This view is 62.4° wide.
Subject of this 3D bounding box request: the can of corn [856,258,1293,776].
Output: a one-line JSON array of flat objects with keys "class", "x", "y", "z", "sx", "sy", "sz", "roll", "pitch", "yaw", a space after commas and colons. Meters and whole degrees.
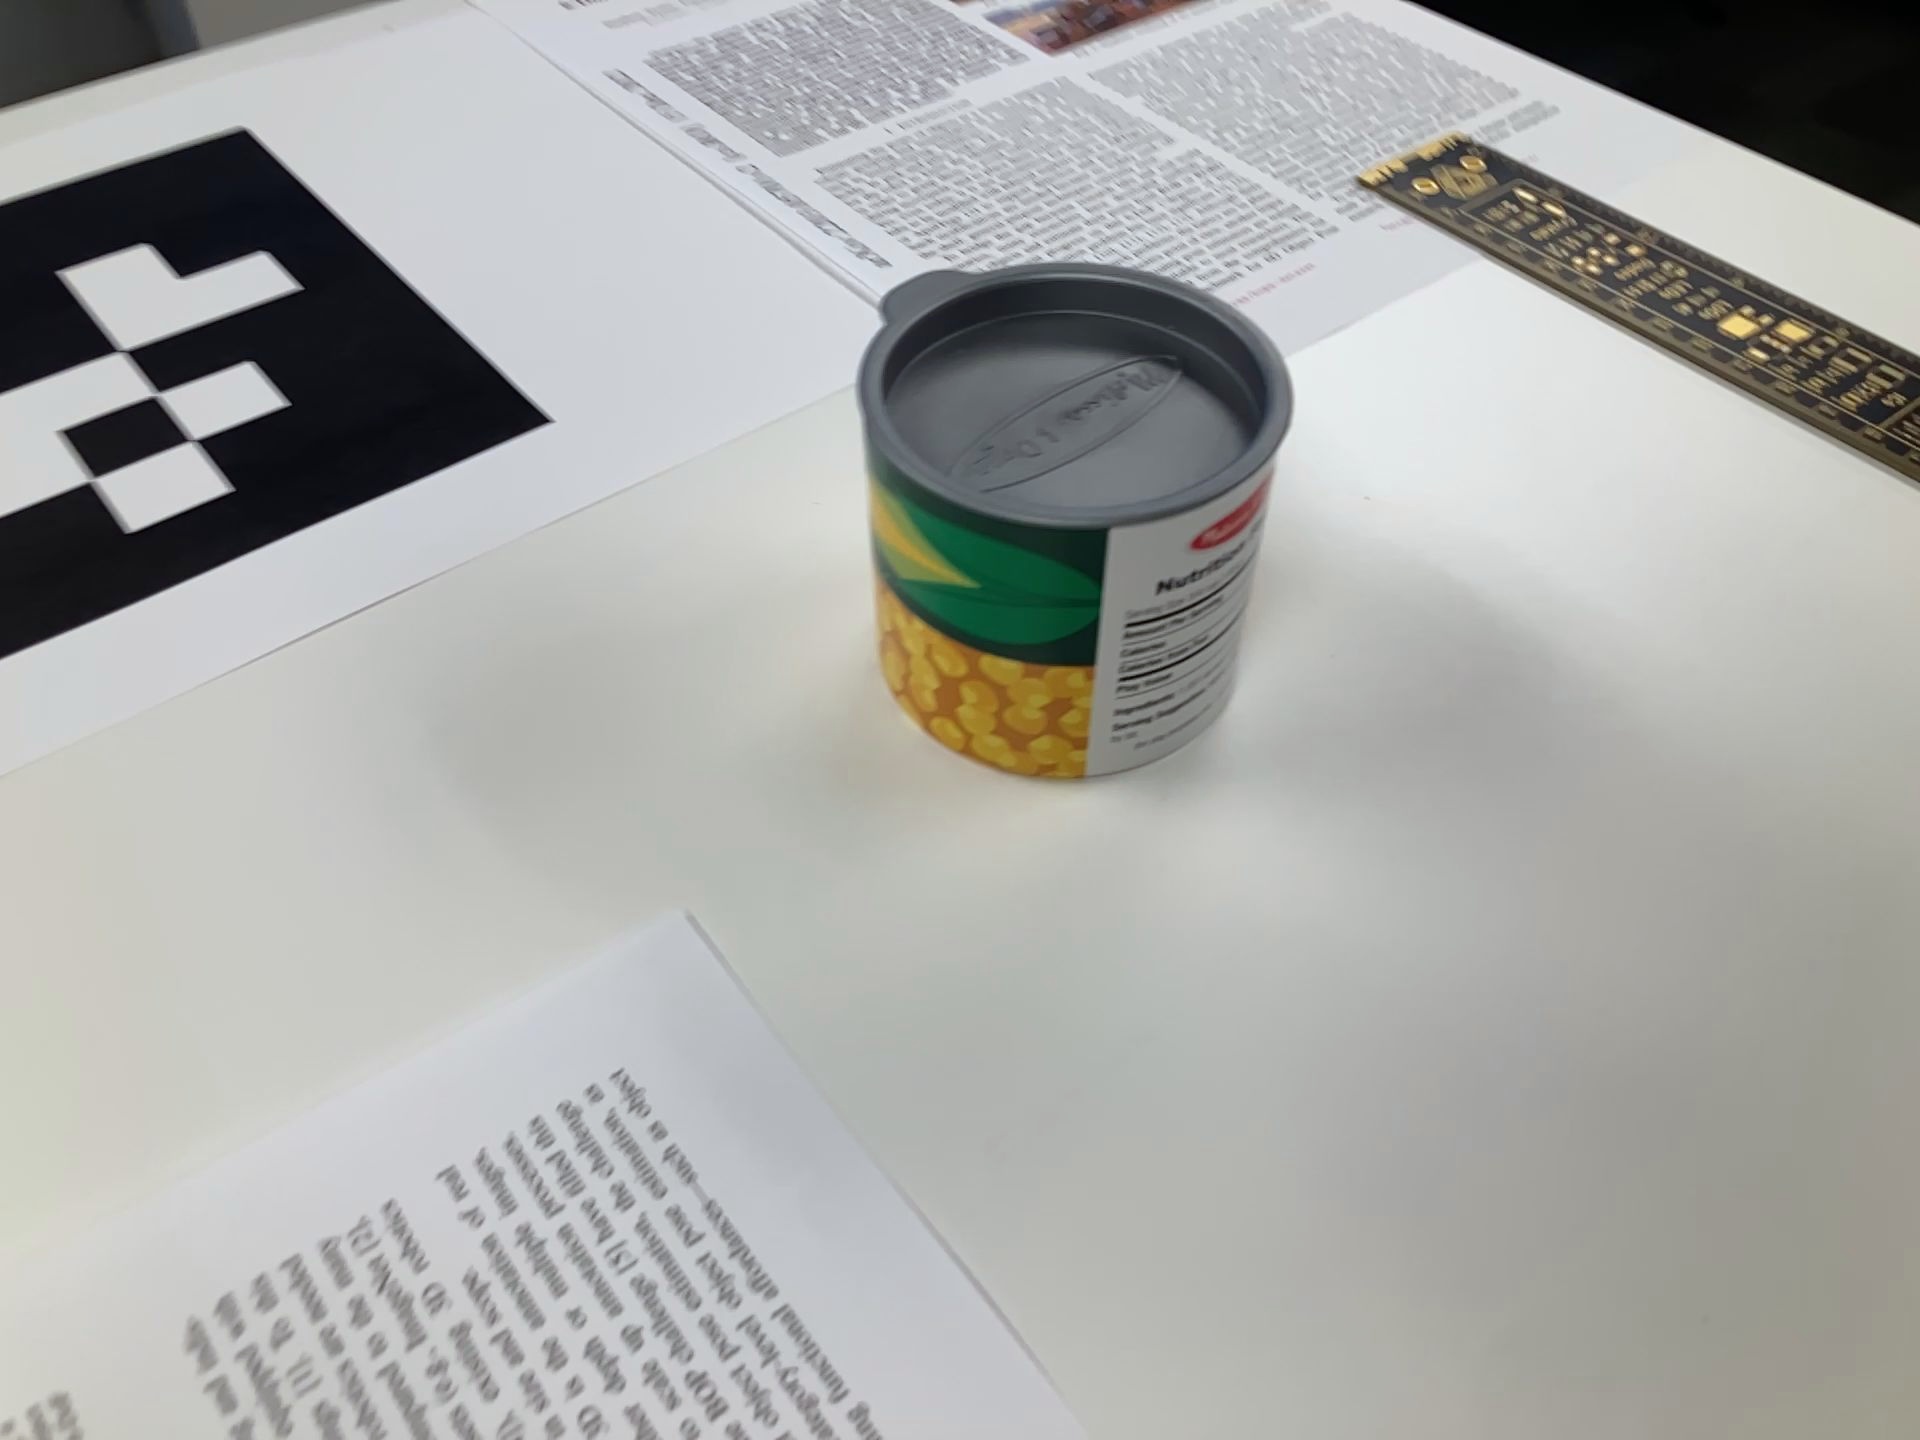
[{"class": "can of corn", "x": 0.016, "y": -0.035, "z": 0.263, "sx": 0.071, "sy": 0.058, "sz": 0.071, "roll": 0, "pitch": 47, "yaw": 0}]
